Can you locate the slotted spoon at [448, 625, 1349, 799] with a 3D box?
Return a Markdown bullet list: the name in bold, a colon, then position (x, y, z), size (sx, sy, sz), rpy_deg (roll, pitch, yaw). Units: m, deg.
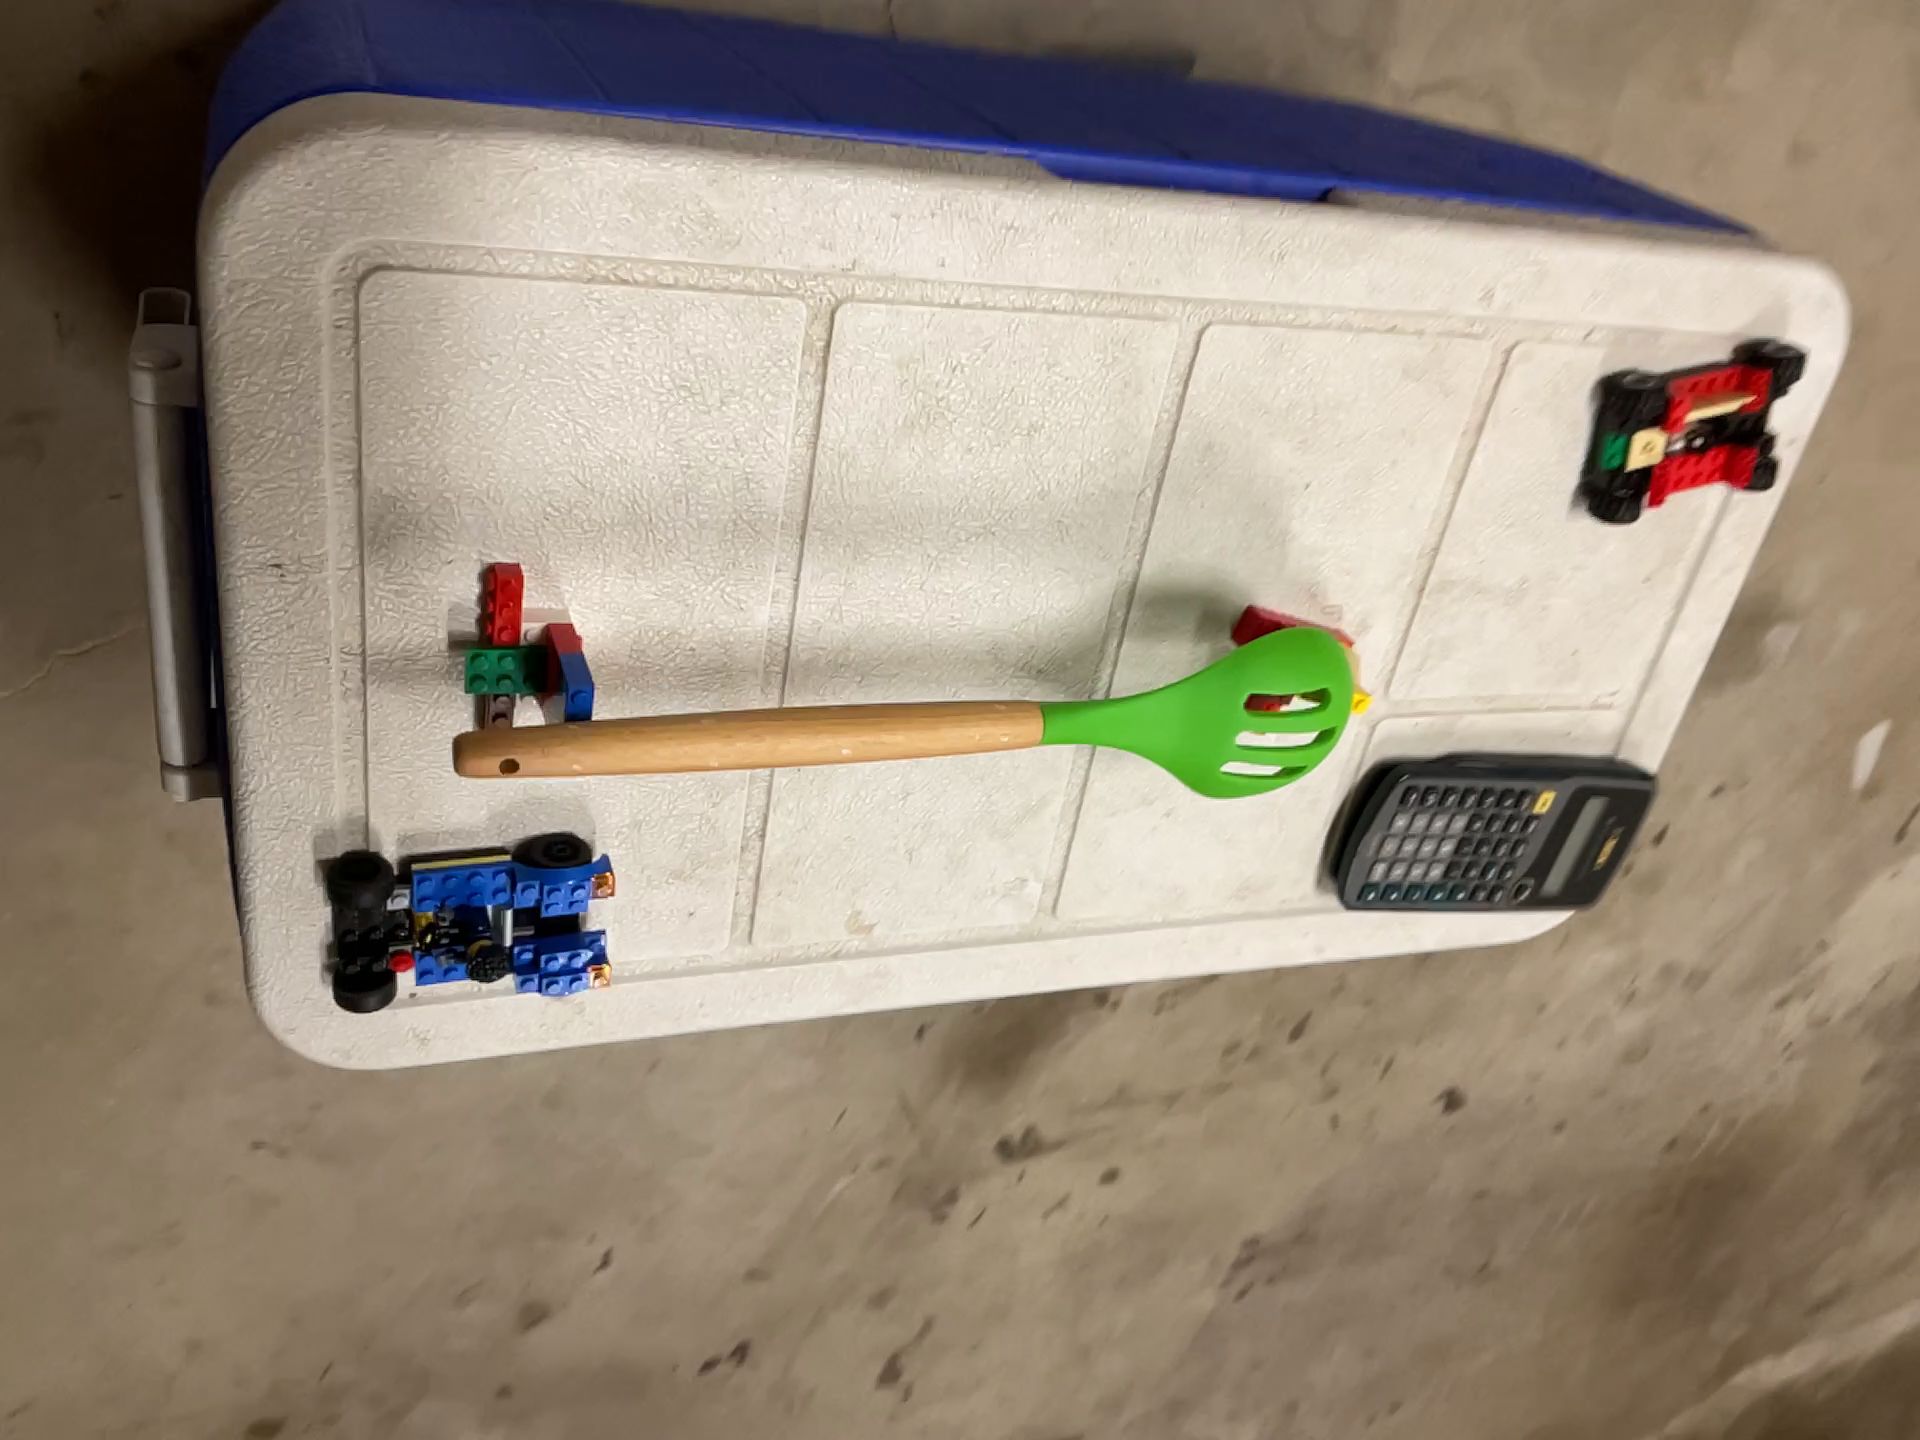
- **slotted spoon**: position (-0.001, 0.004, 0.516), size (0.313, 0.031, 0.070), rpy_deg (-3, 124, -23)
